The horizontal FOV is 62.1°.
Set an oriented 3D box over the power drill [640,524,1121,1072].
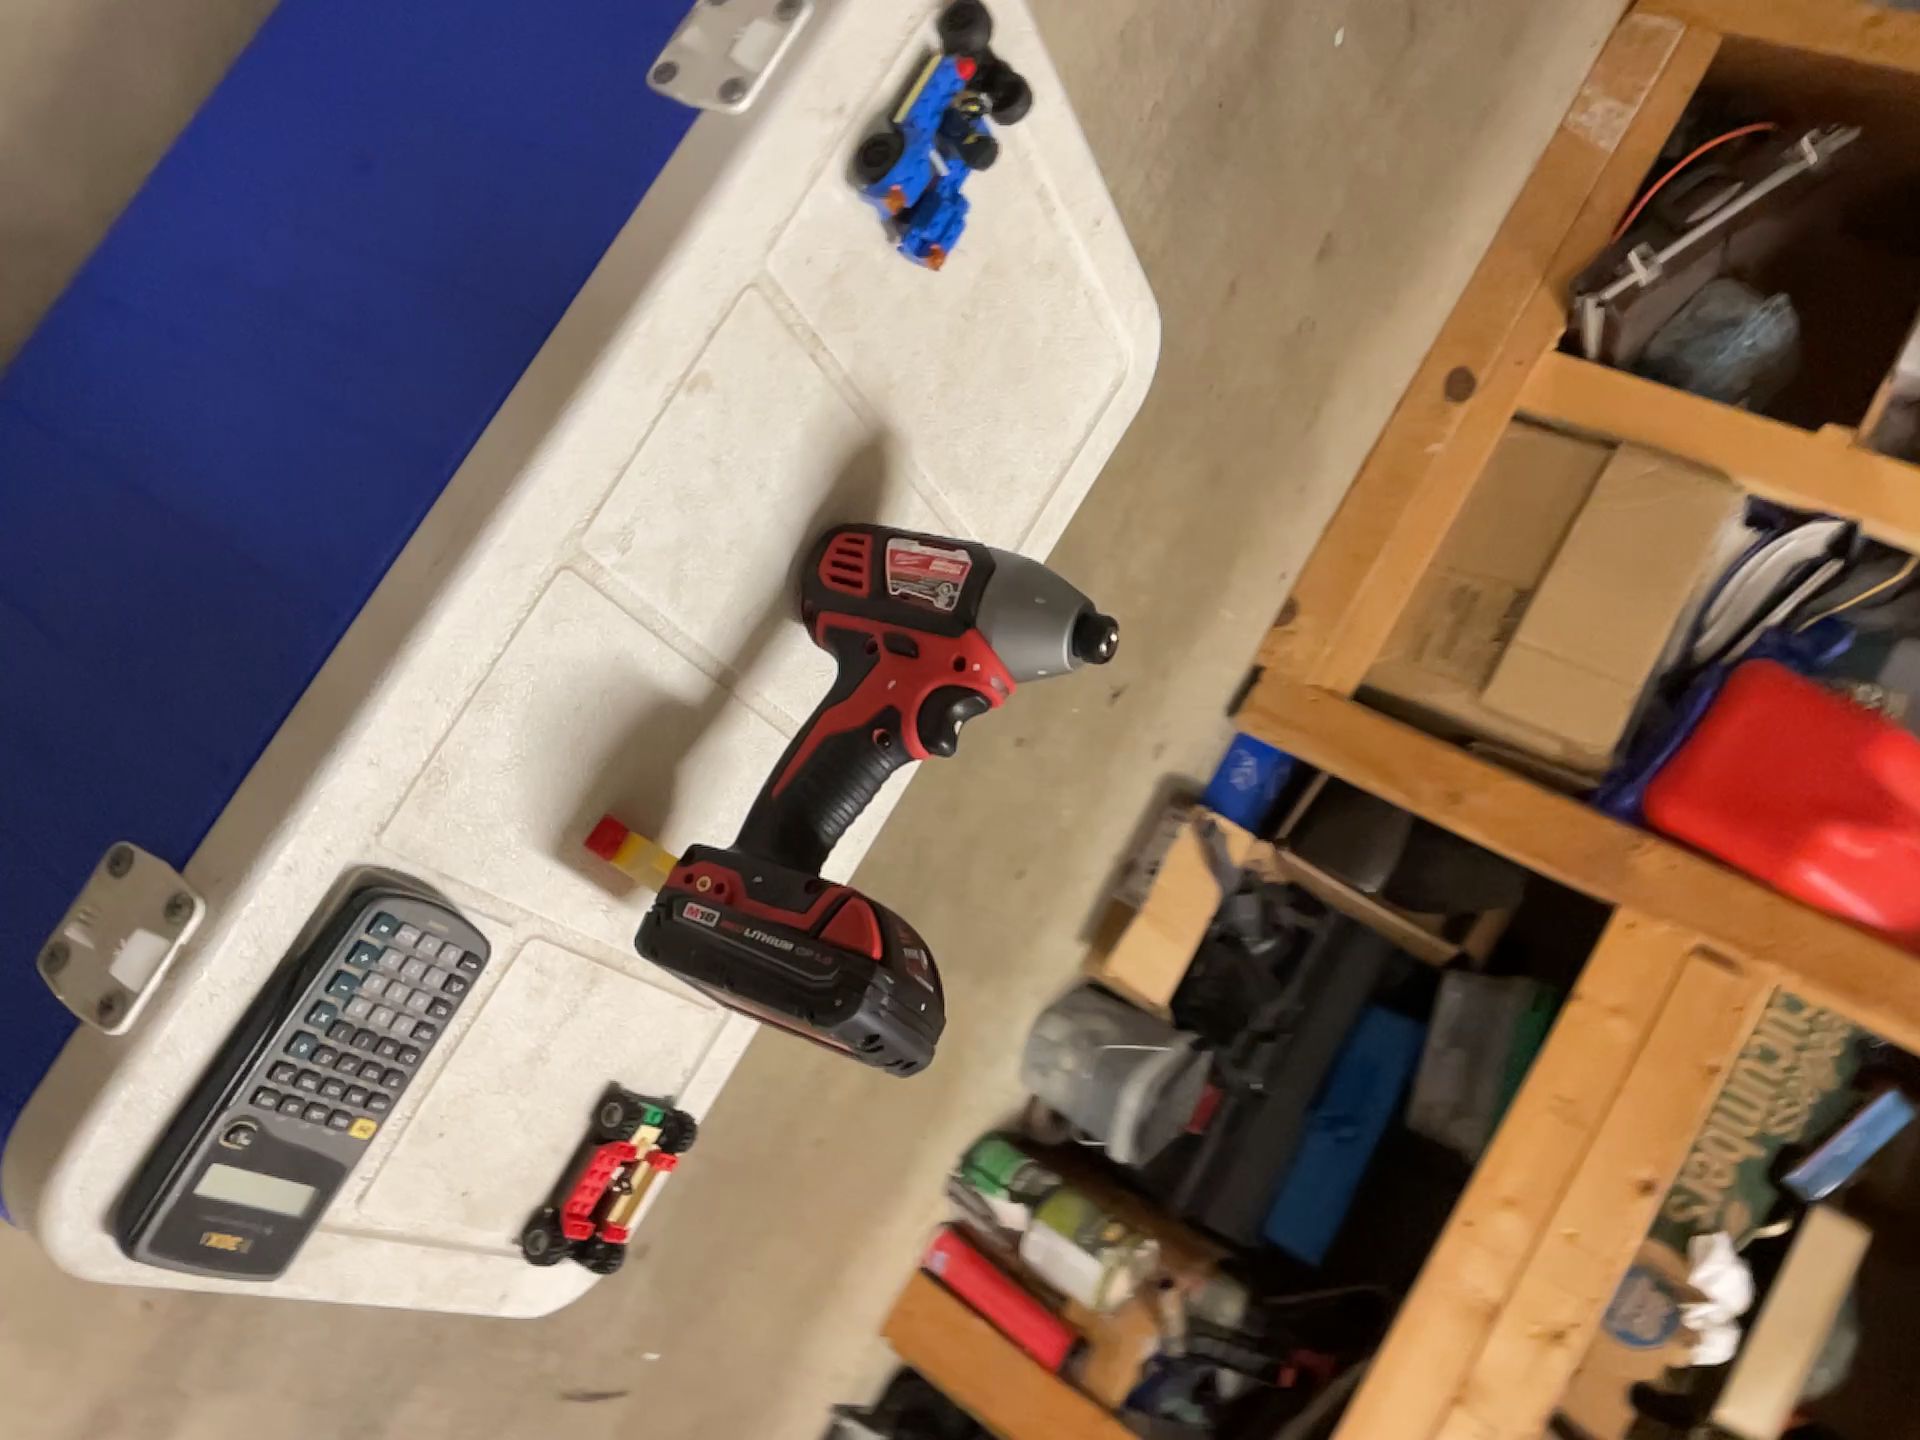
[{"bbox_3d":[-0.028,0.023,0.665,0.220,0.143,0.078,-68,152,-18],"label":"power drill"}]
